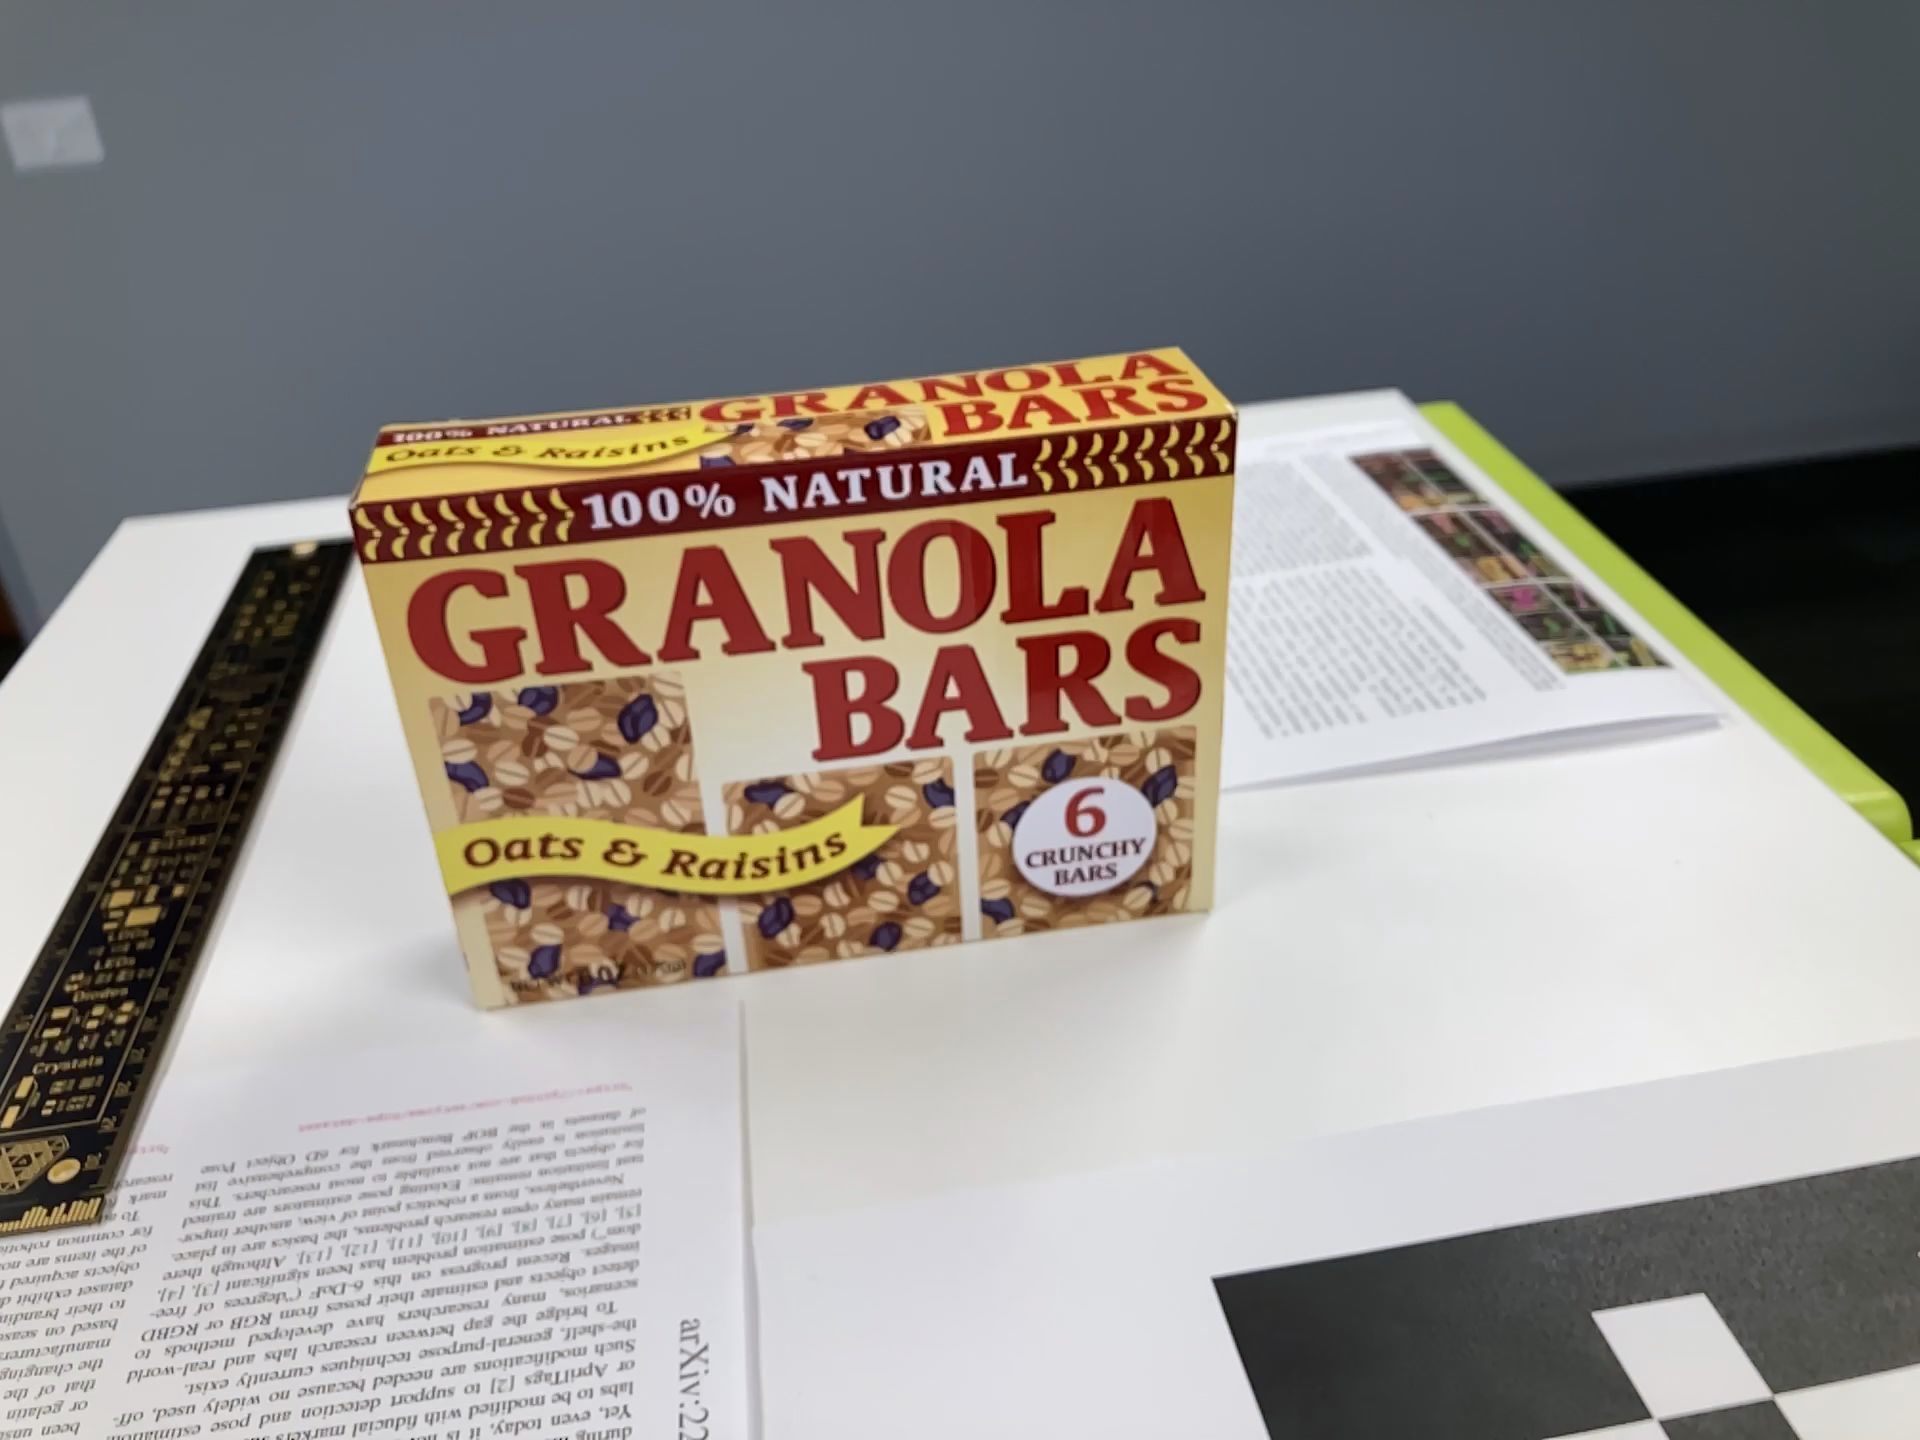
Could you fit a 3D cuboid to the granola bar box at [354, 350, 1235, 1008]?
[{"bbox_3d":[-0.029,-0.007,0.345,0.165,0.124,0.039,-7,33,-6],"label":"granola bar box"}]
